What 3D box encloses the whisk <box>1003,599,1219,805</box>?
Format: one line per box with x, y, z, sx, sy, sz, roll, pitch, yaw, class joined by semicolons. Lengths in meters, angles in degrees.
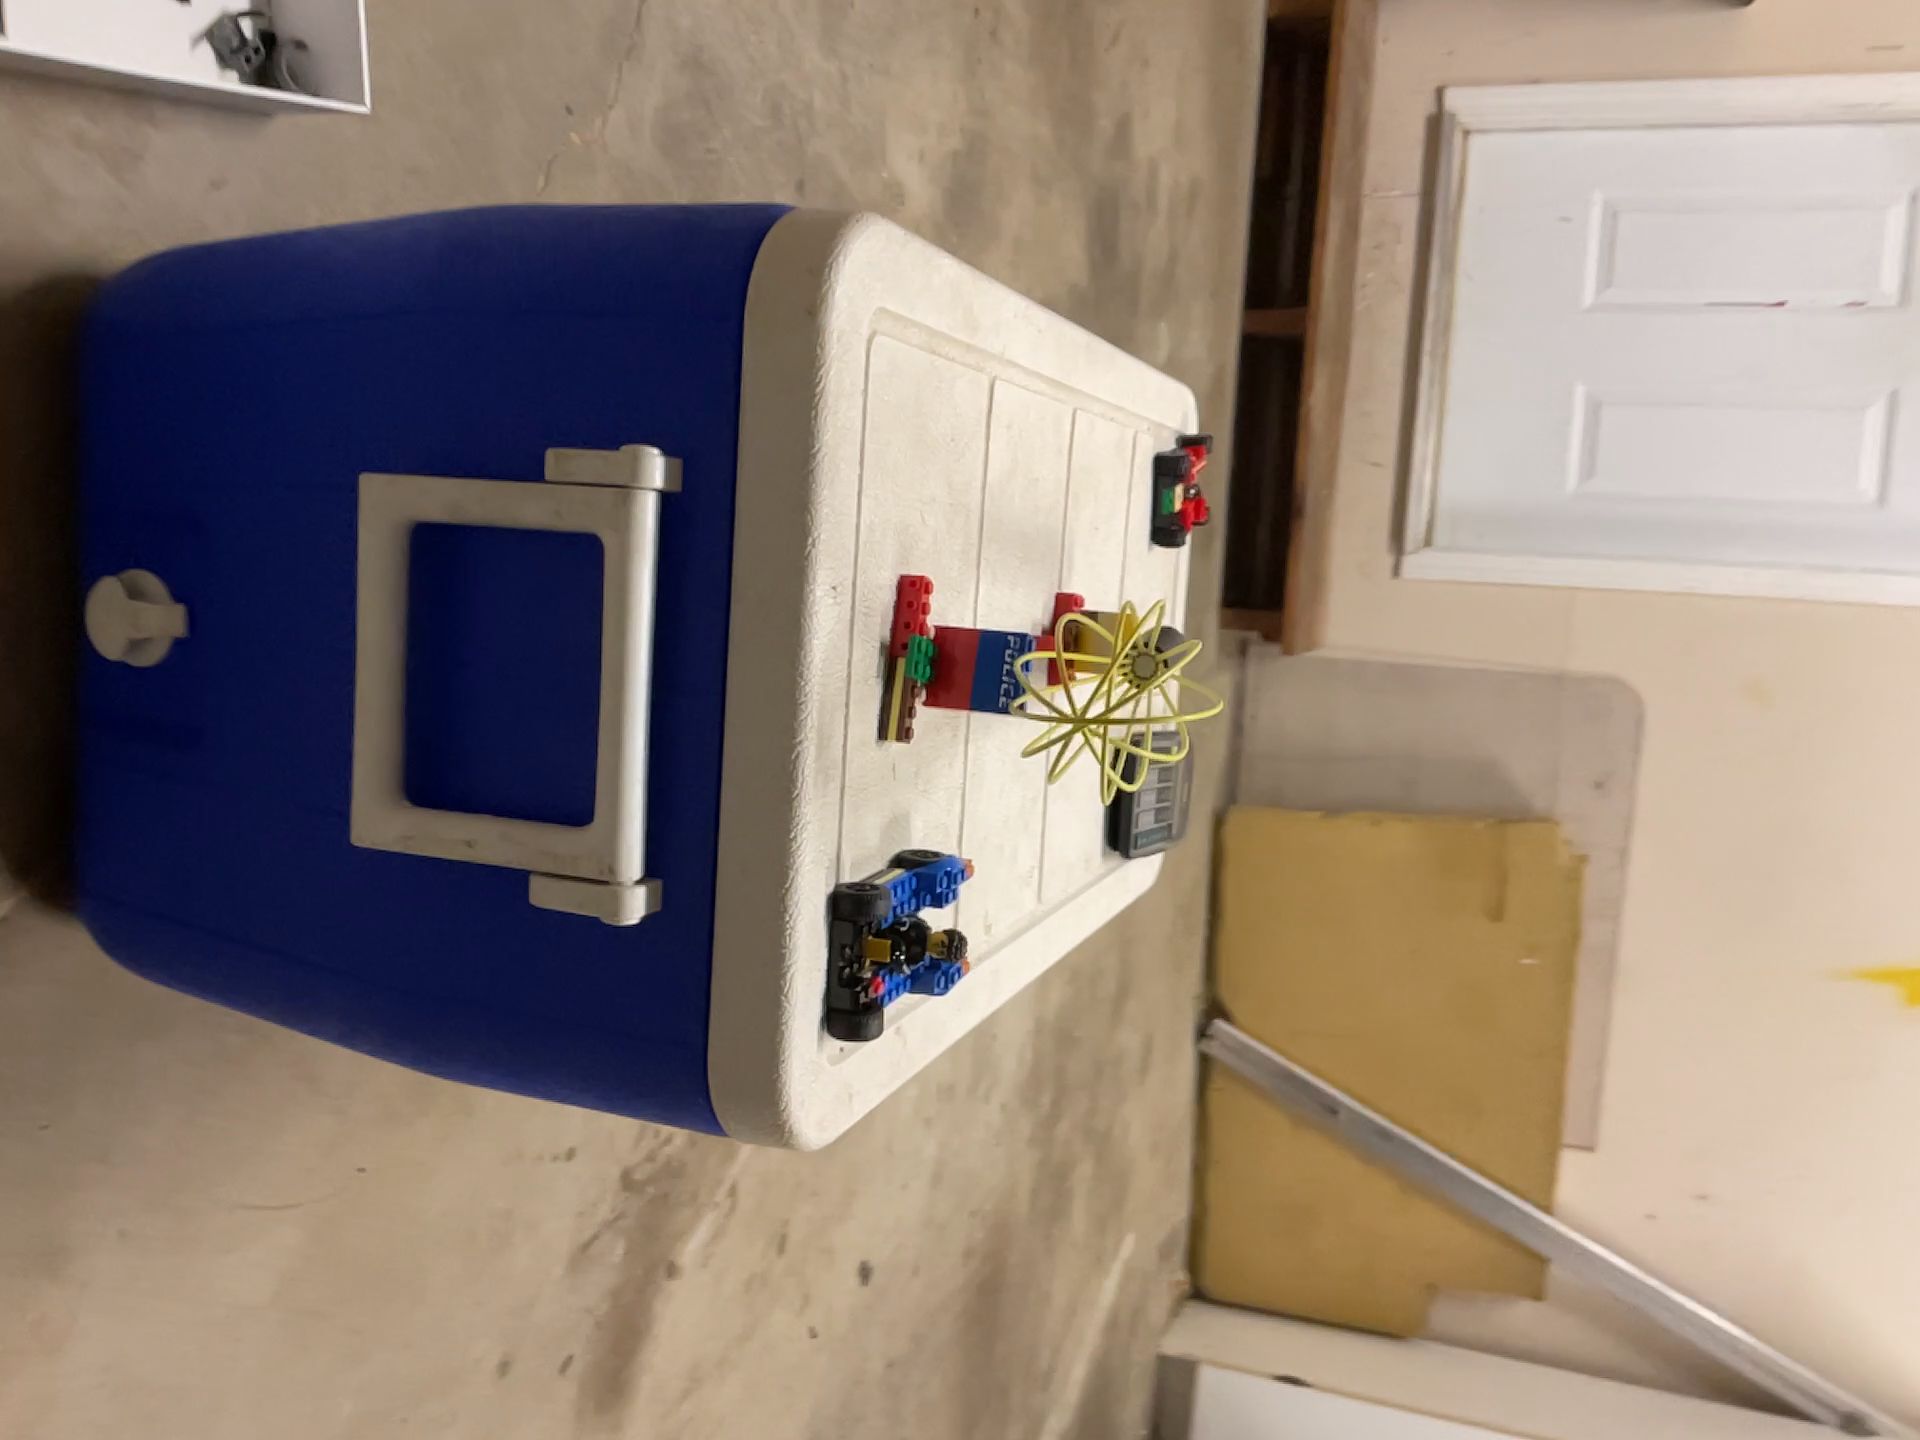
0.074;-0.021;0.678;0.080;0.067;0.312;-40;178;14;whisk
